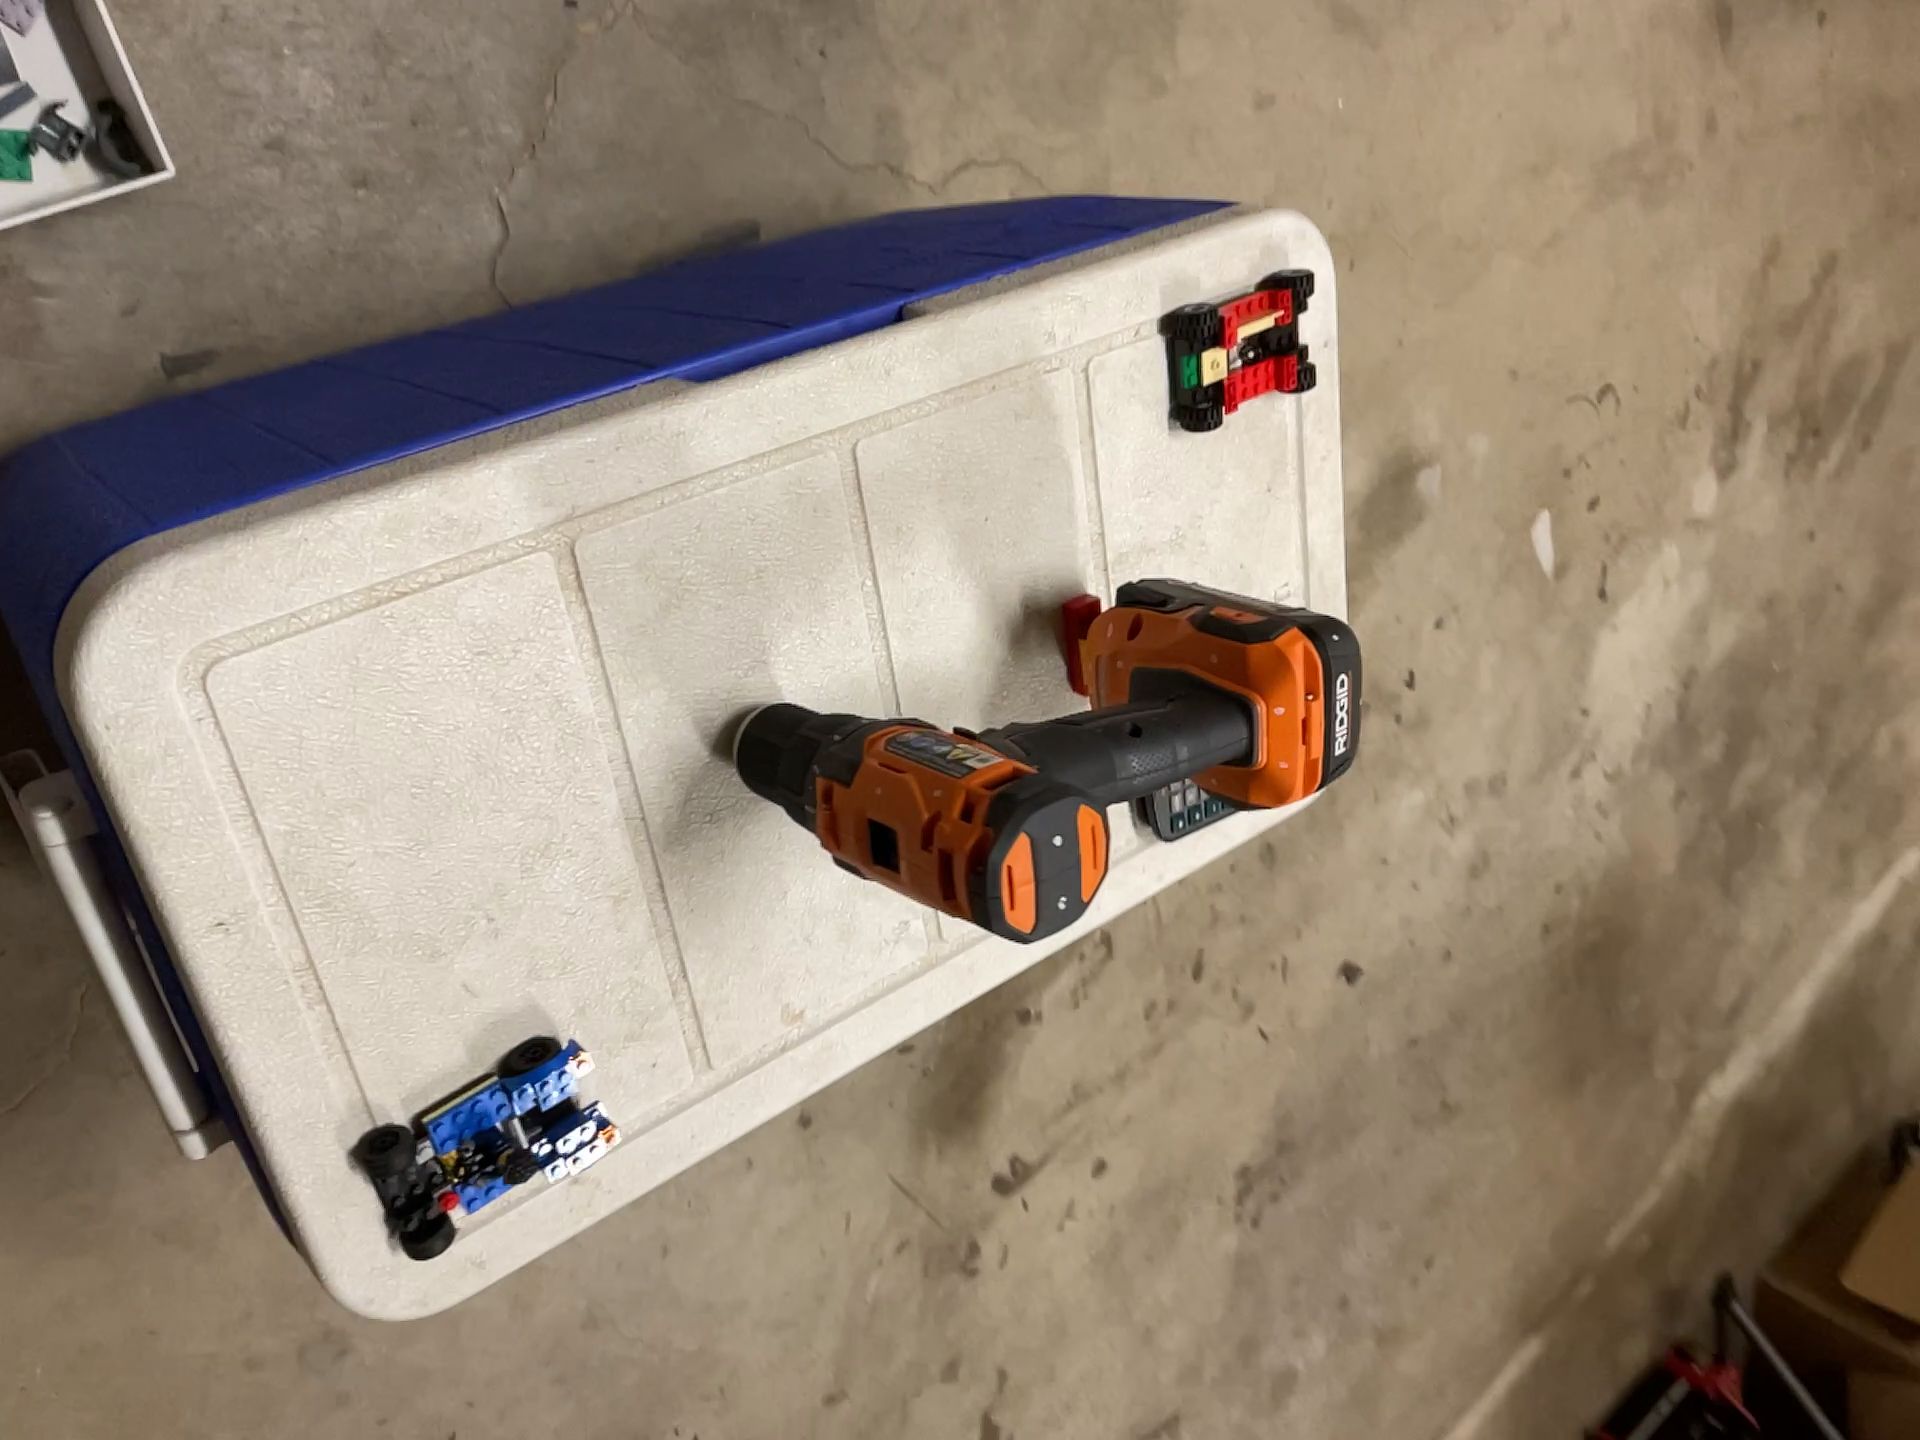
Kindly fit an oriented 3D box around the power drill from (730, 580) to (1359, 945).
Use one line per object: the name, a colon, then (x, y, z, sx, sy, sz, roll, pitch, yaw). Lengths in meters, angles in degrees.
power drill: (0.032, 0.007, 0.662, 0.226, 0.185, 0.084, -22, 117, -37)
